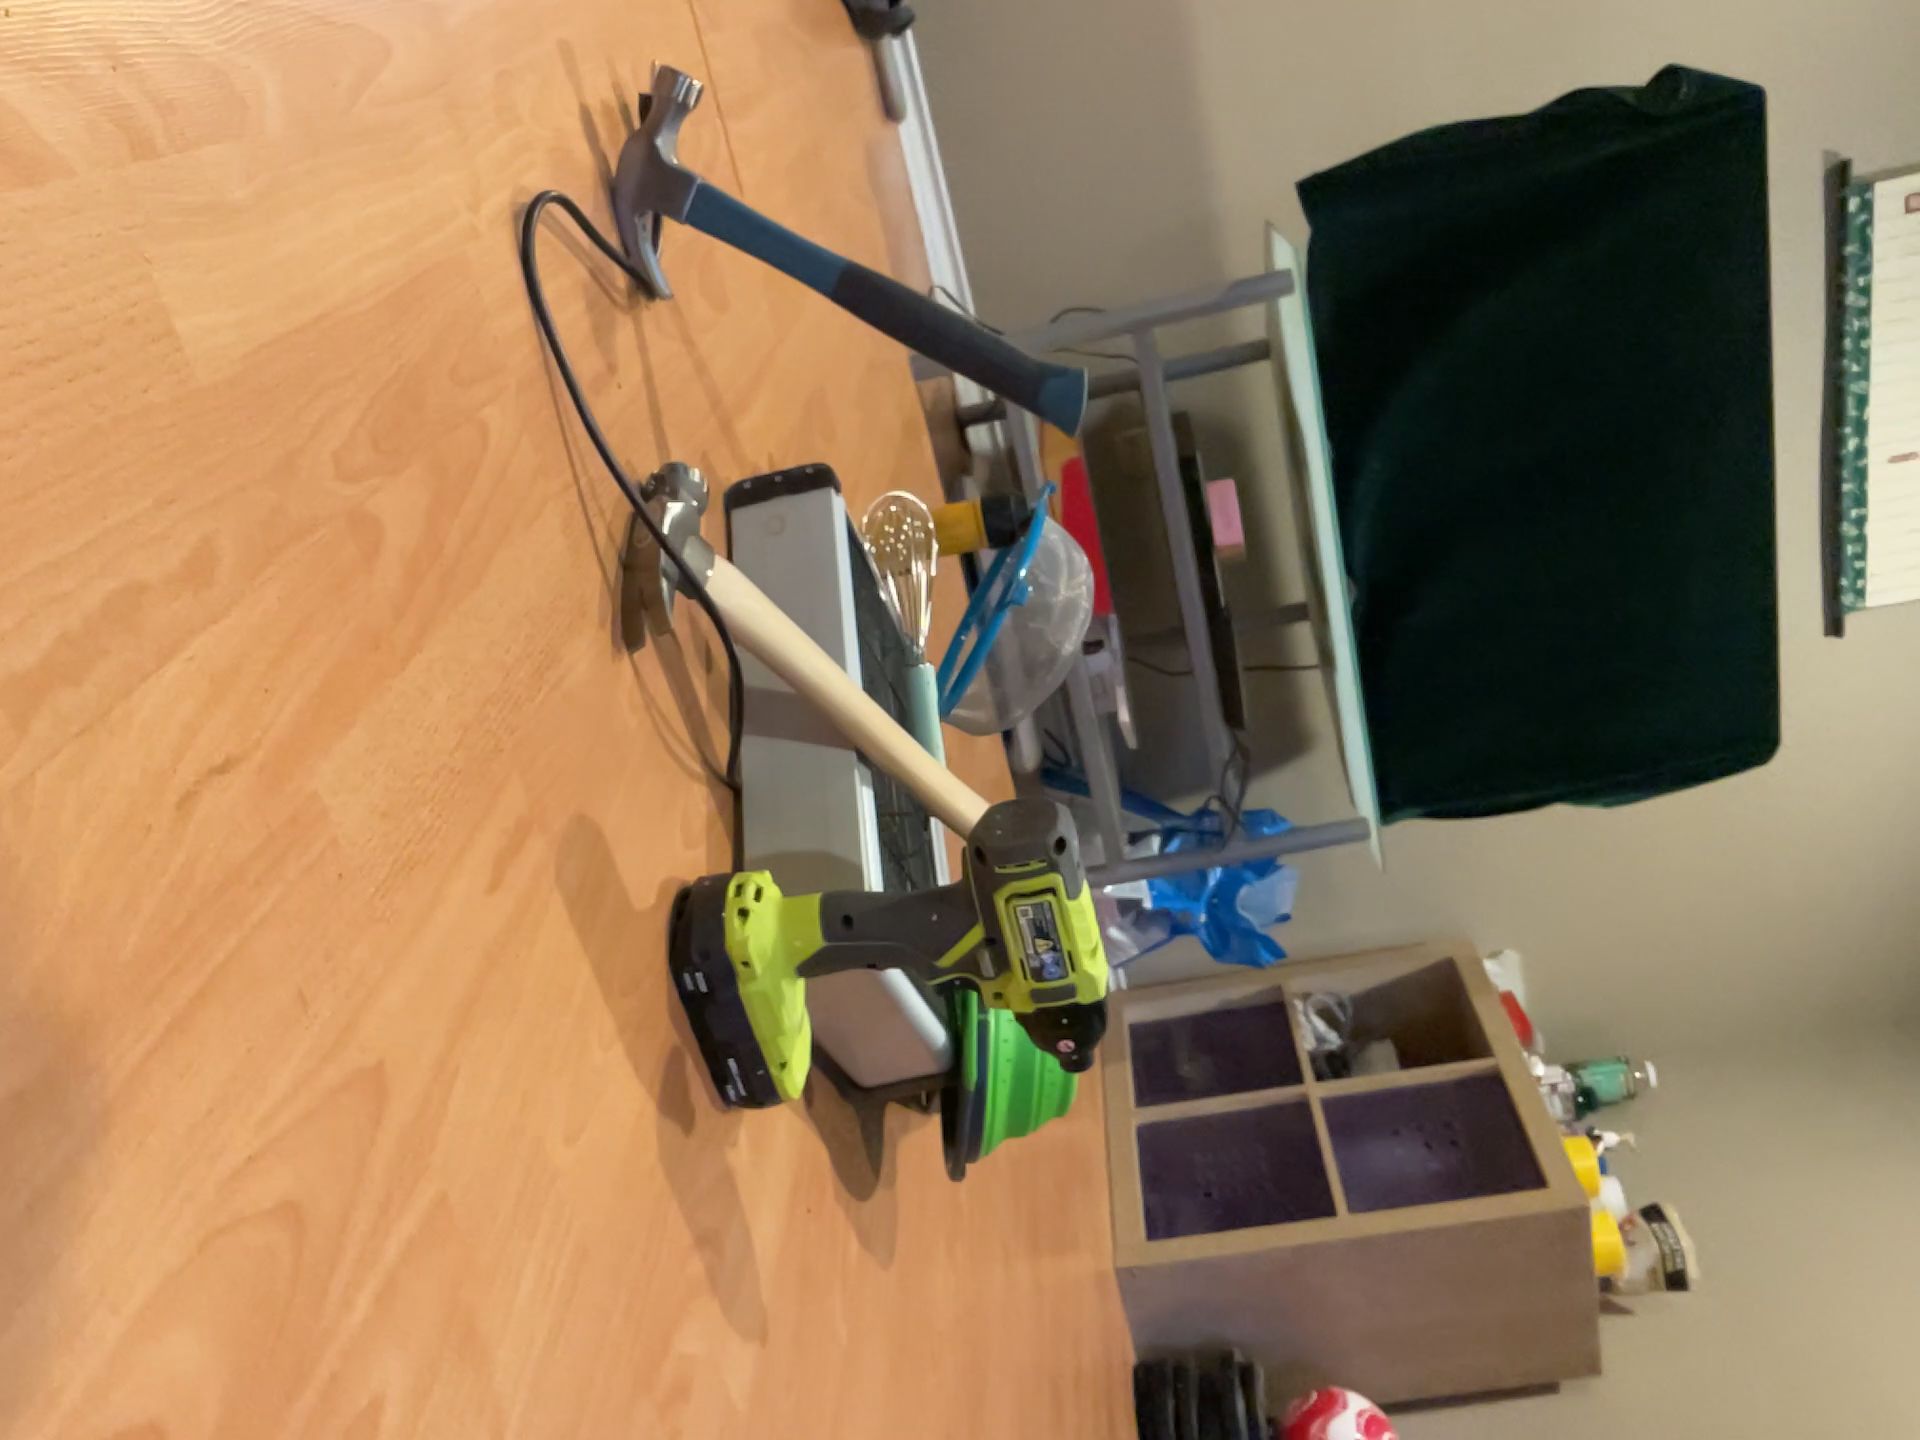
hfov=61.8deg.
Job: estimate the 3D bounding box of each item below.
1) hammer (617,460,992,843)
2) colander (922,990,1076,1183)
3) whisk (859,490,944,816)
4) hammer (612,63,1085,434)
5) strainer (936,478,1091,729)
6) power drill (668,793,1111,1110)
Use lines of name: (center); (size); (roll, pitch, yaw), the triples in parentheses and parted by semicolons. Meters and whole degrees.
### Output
hammer: (-0.057, 0.014, 1.008); (0.410, 0.038, 0.146); (43, 28, -34)
colander: (0.028, 0.274, 1.284); (0.396, 0.094, 0.204); (104, -13, -67)
whisk: (-0.034, -0.050, 1.200); (0.058, 0.059, 0.246); (178, -96, -68)
hammer: (-0.066, -0.276, 1.015); (0.128, 0.331, 0.033); (-62, -175, 18)
strainer: (0.028, -0.027, 1.386); (0.211, 0.095, 0.340); (-72, -172, -54)
power drill: (-0.032, 0.139, 0.883); (0.080, 0.223, 0.171); (-86, 164, -60)
